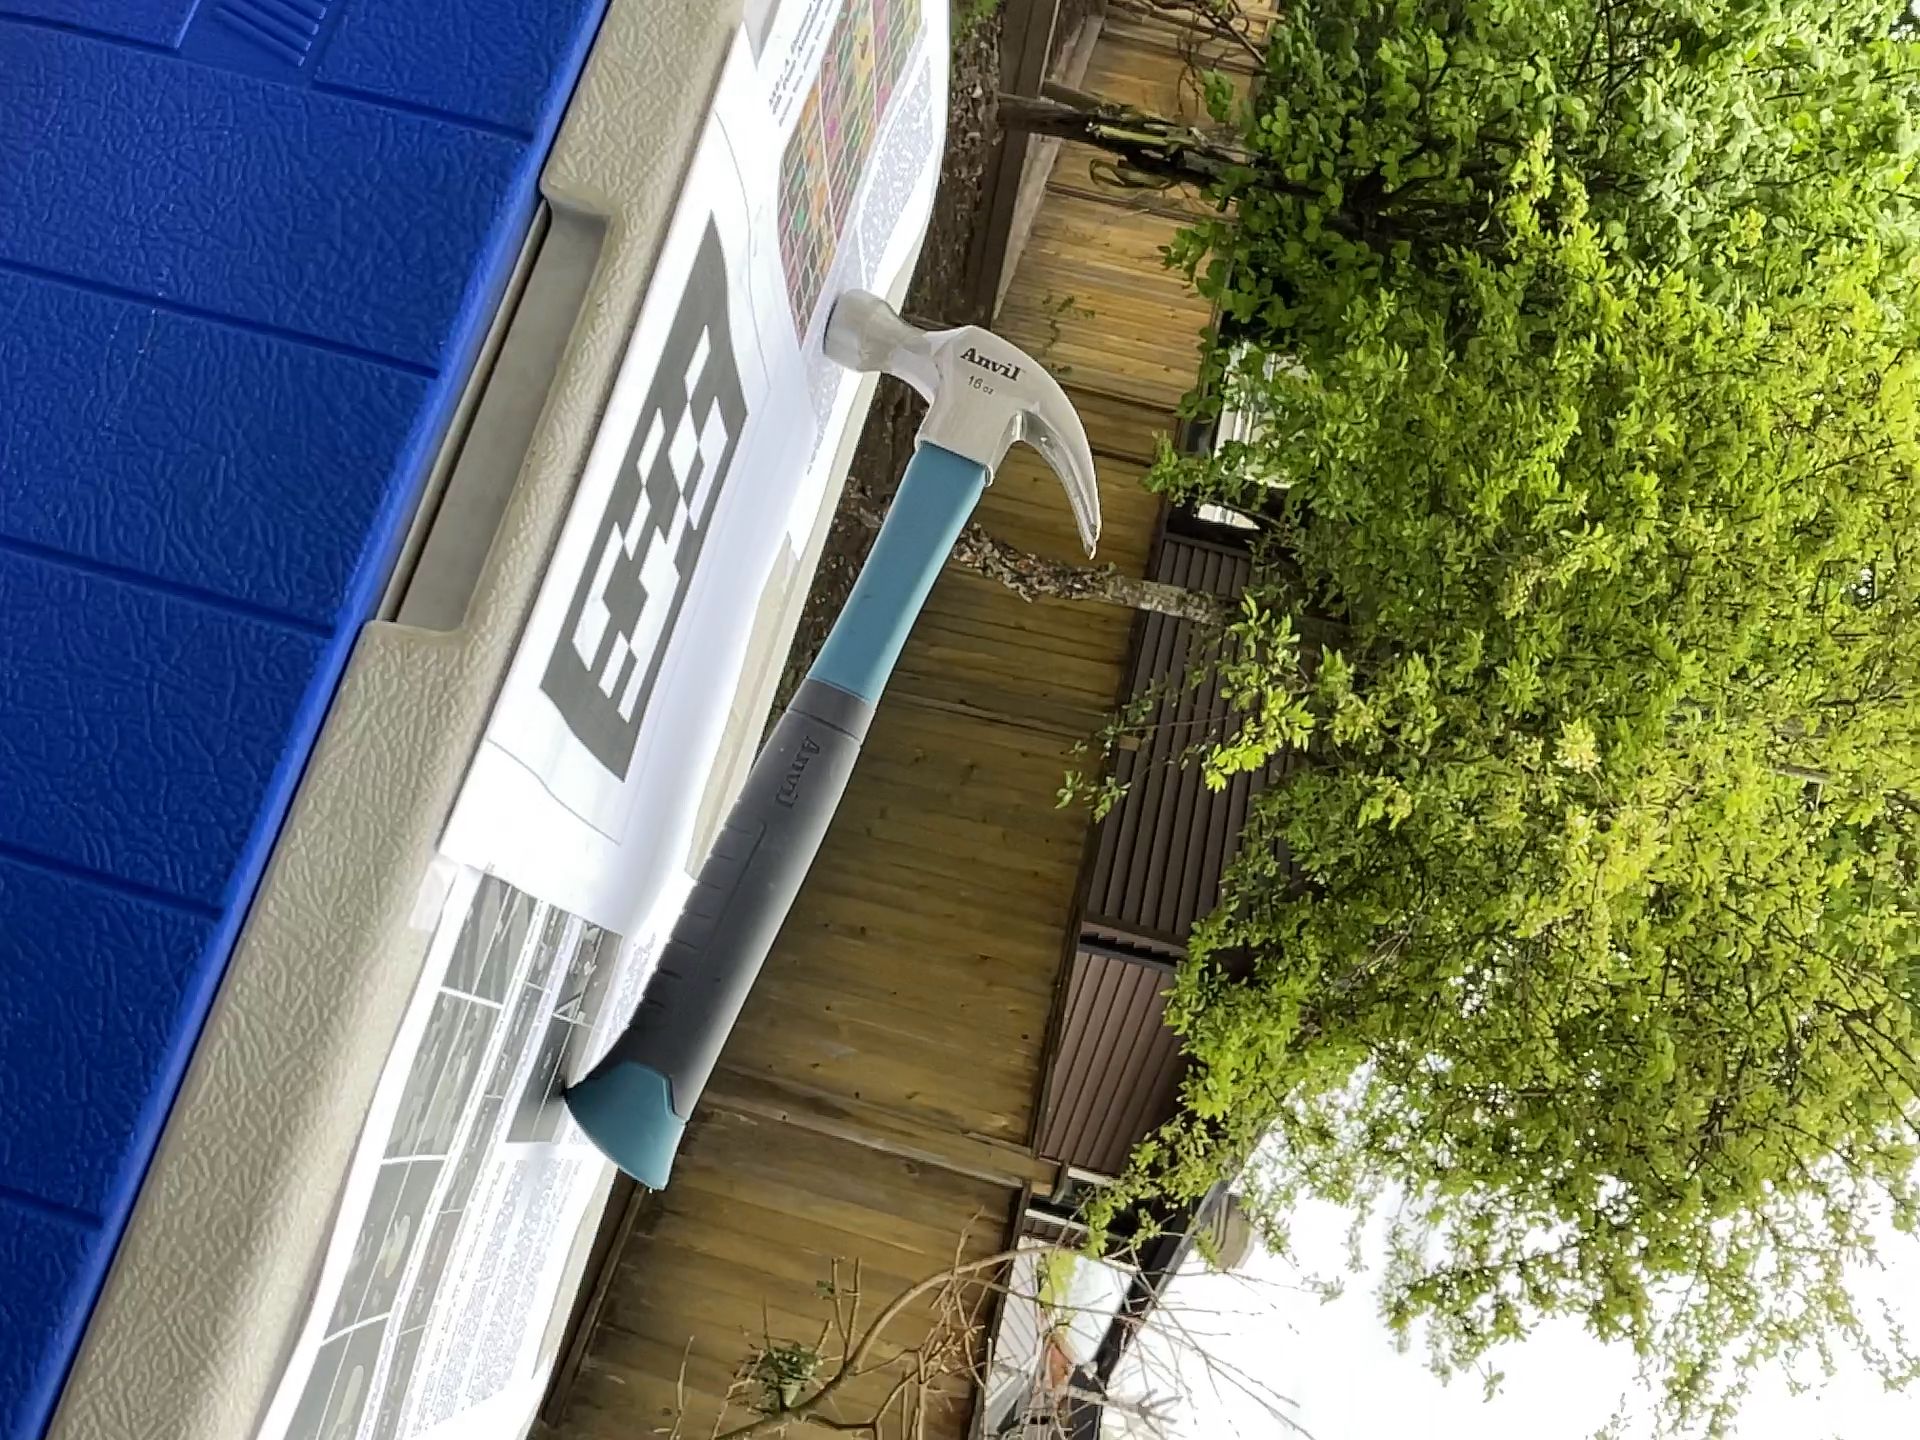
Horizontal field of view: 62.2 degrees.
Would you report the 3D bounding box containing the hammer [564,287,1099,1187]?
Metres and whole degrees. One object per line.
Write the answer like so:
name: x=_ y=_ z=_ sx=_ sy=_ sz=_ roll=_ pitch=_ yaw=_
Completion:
hammer: x=-0.051 y=0.002 z=0.573 sx=0.033 sy=0.128 sz=0.331 roll=88 pitch=26 yaw=-74
